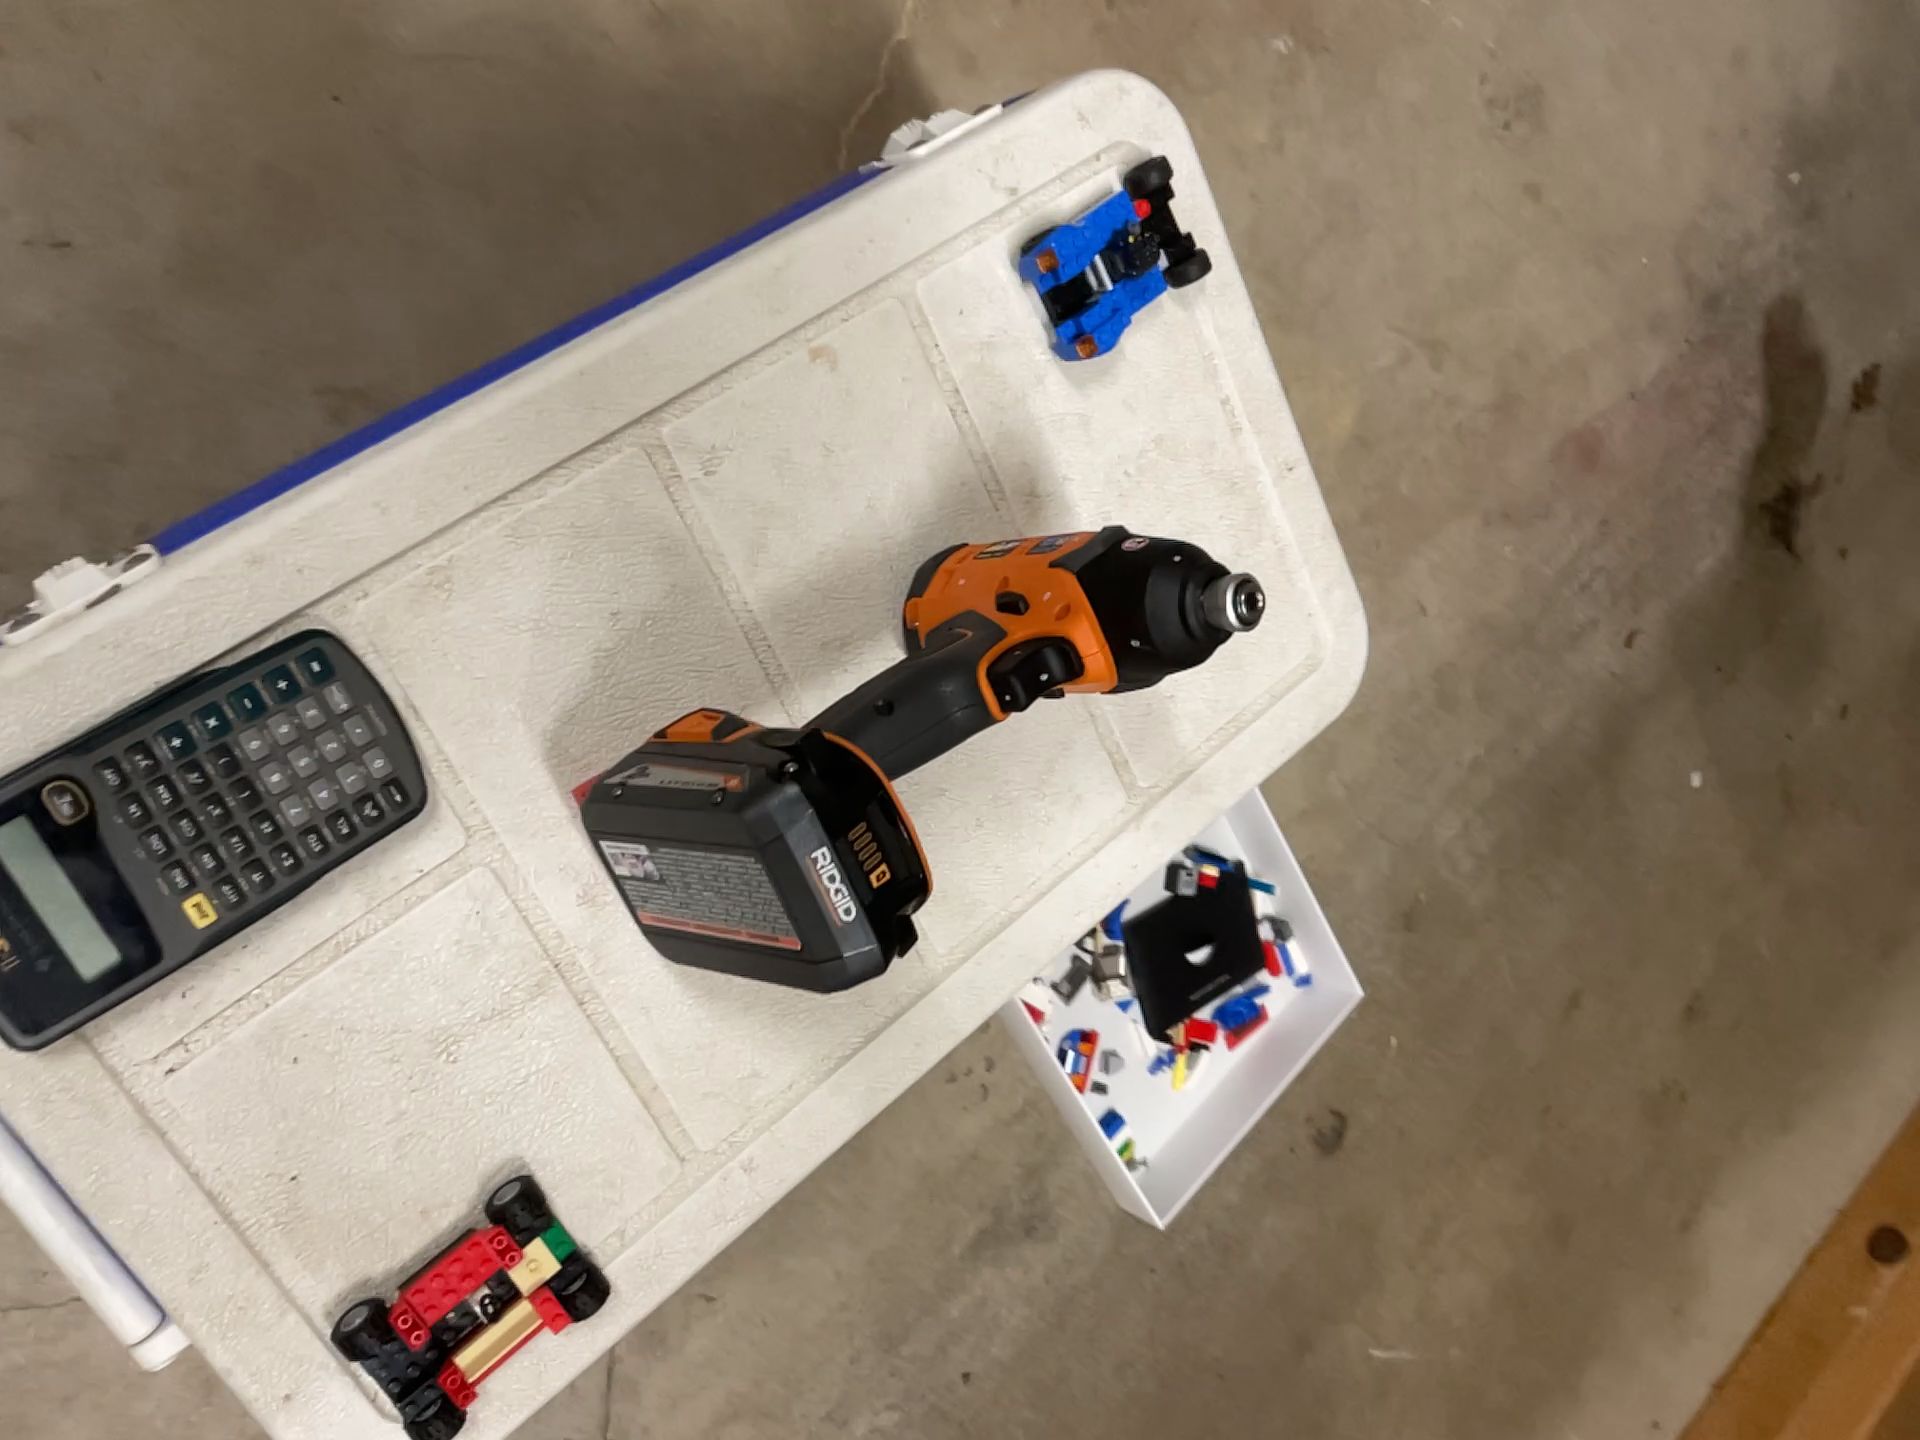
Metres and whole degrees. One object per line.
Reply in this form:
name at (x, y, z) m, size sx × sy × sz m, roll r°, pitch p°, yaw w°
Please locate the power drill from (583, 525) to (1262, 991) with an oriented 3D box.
power drill at (-0.004, -0.001, 0.577) m, size 0.227 × 0.164 × 0.084 m, roll -39°, pitch 115°, yaw -36°
